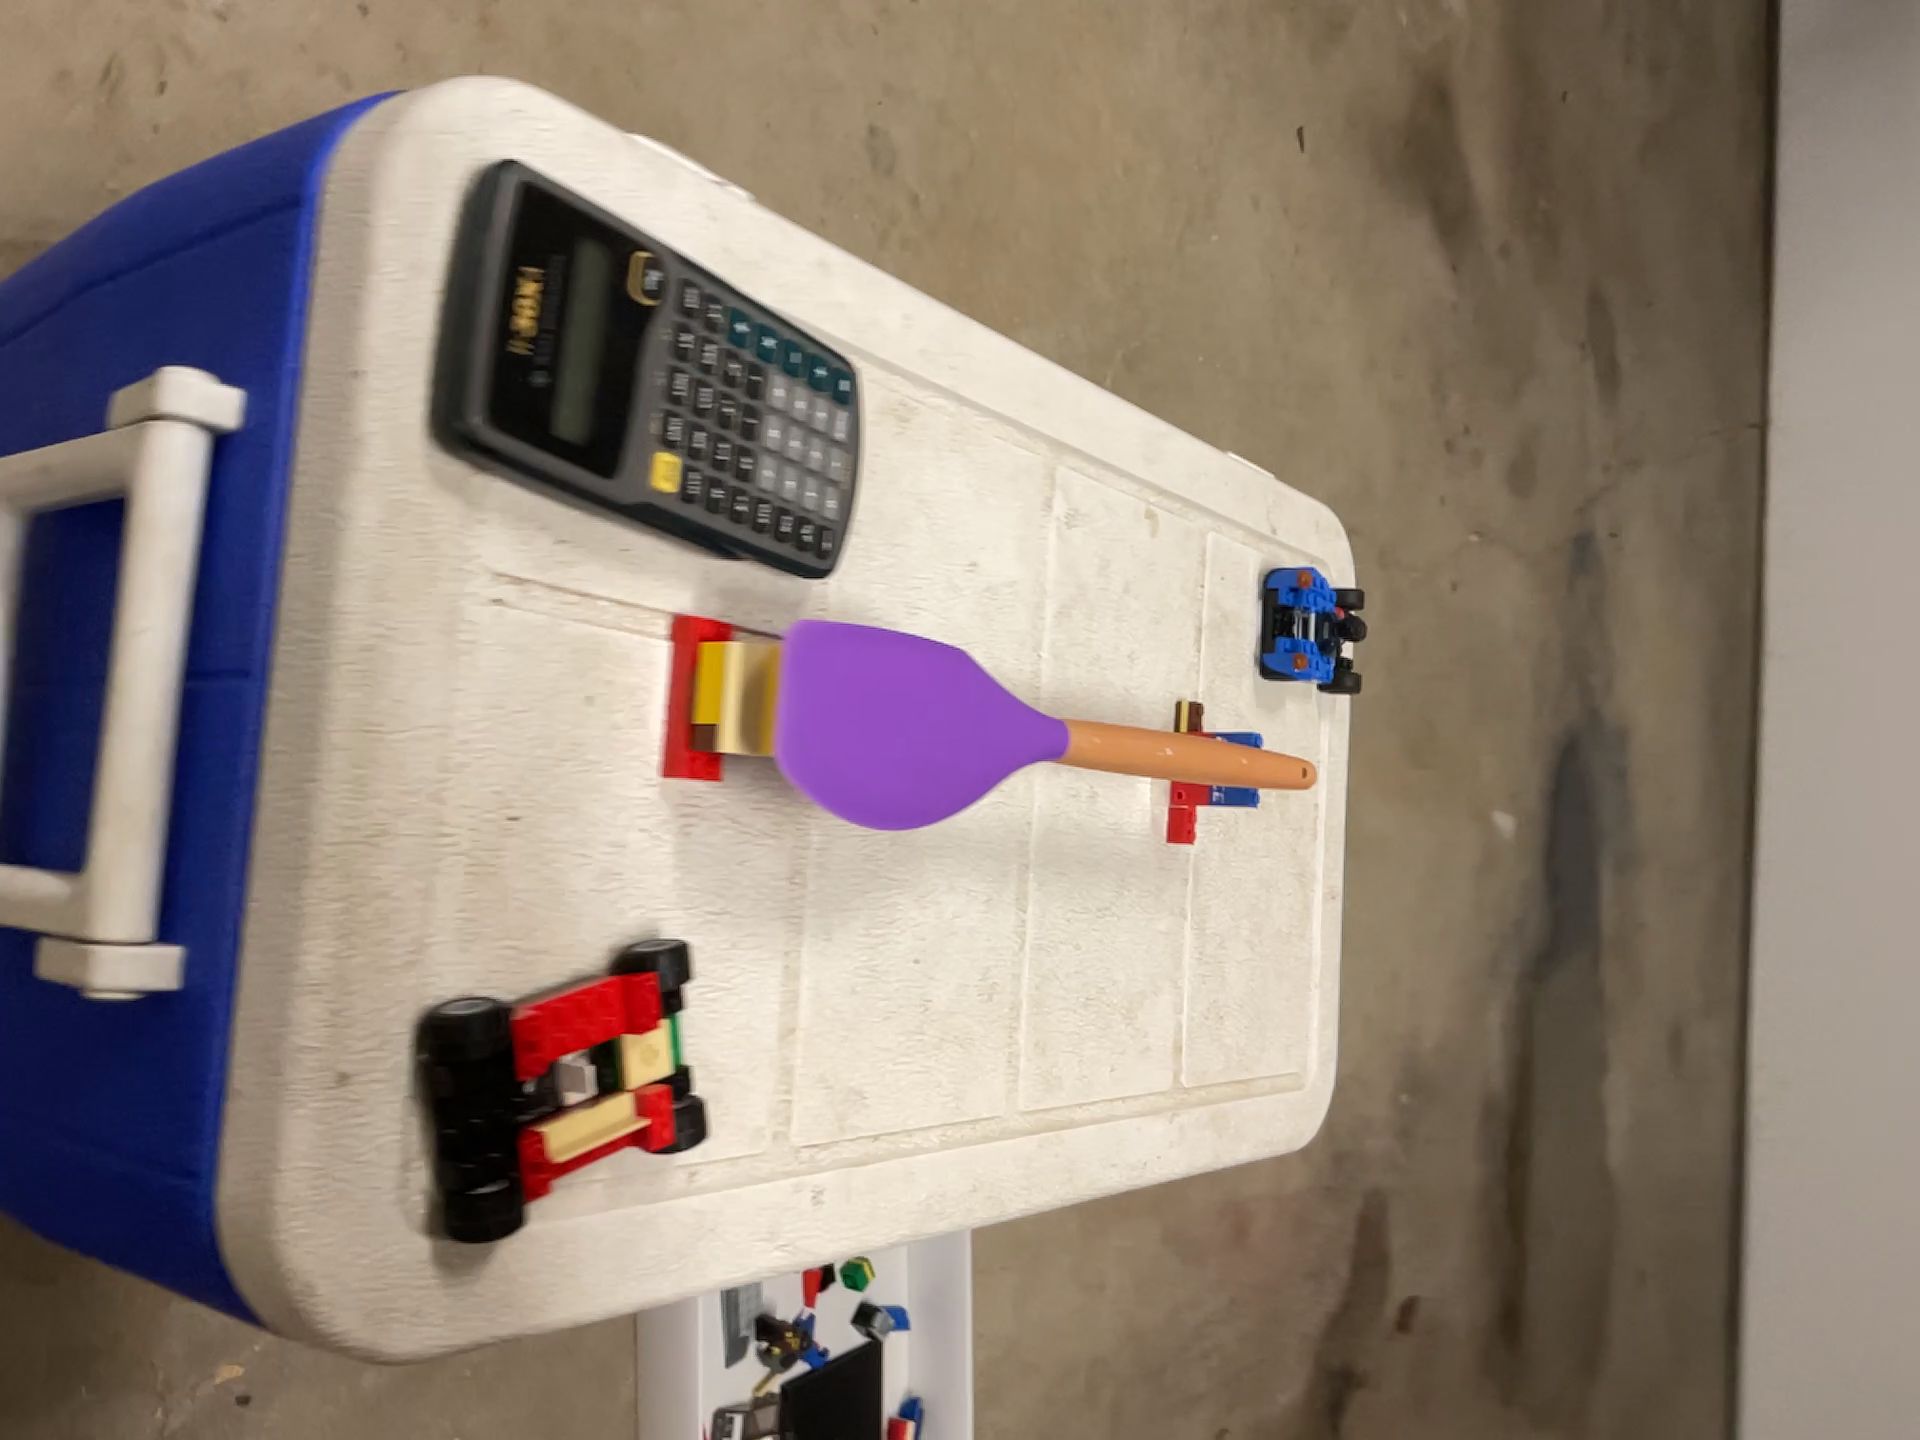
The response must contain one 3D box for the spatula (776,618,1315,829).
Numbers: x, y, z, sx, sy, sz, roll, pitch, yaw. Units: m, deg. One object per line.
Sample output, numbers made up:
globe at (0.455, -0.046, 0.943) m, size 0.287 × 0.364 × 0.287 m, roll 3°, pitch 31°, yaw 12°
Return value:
spatula at (0.048, 0.011, 0.562) m, size 0.316 × 0.018 × 0.060 m, roll 7°, pitch 83°, yaw -51°
